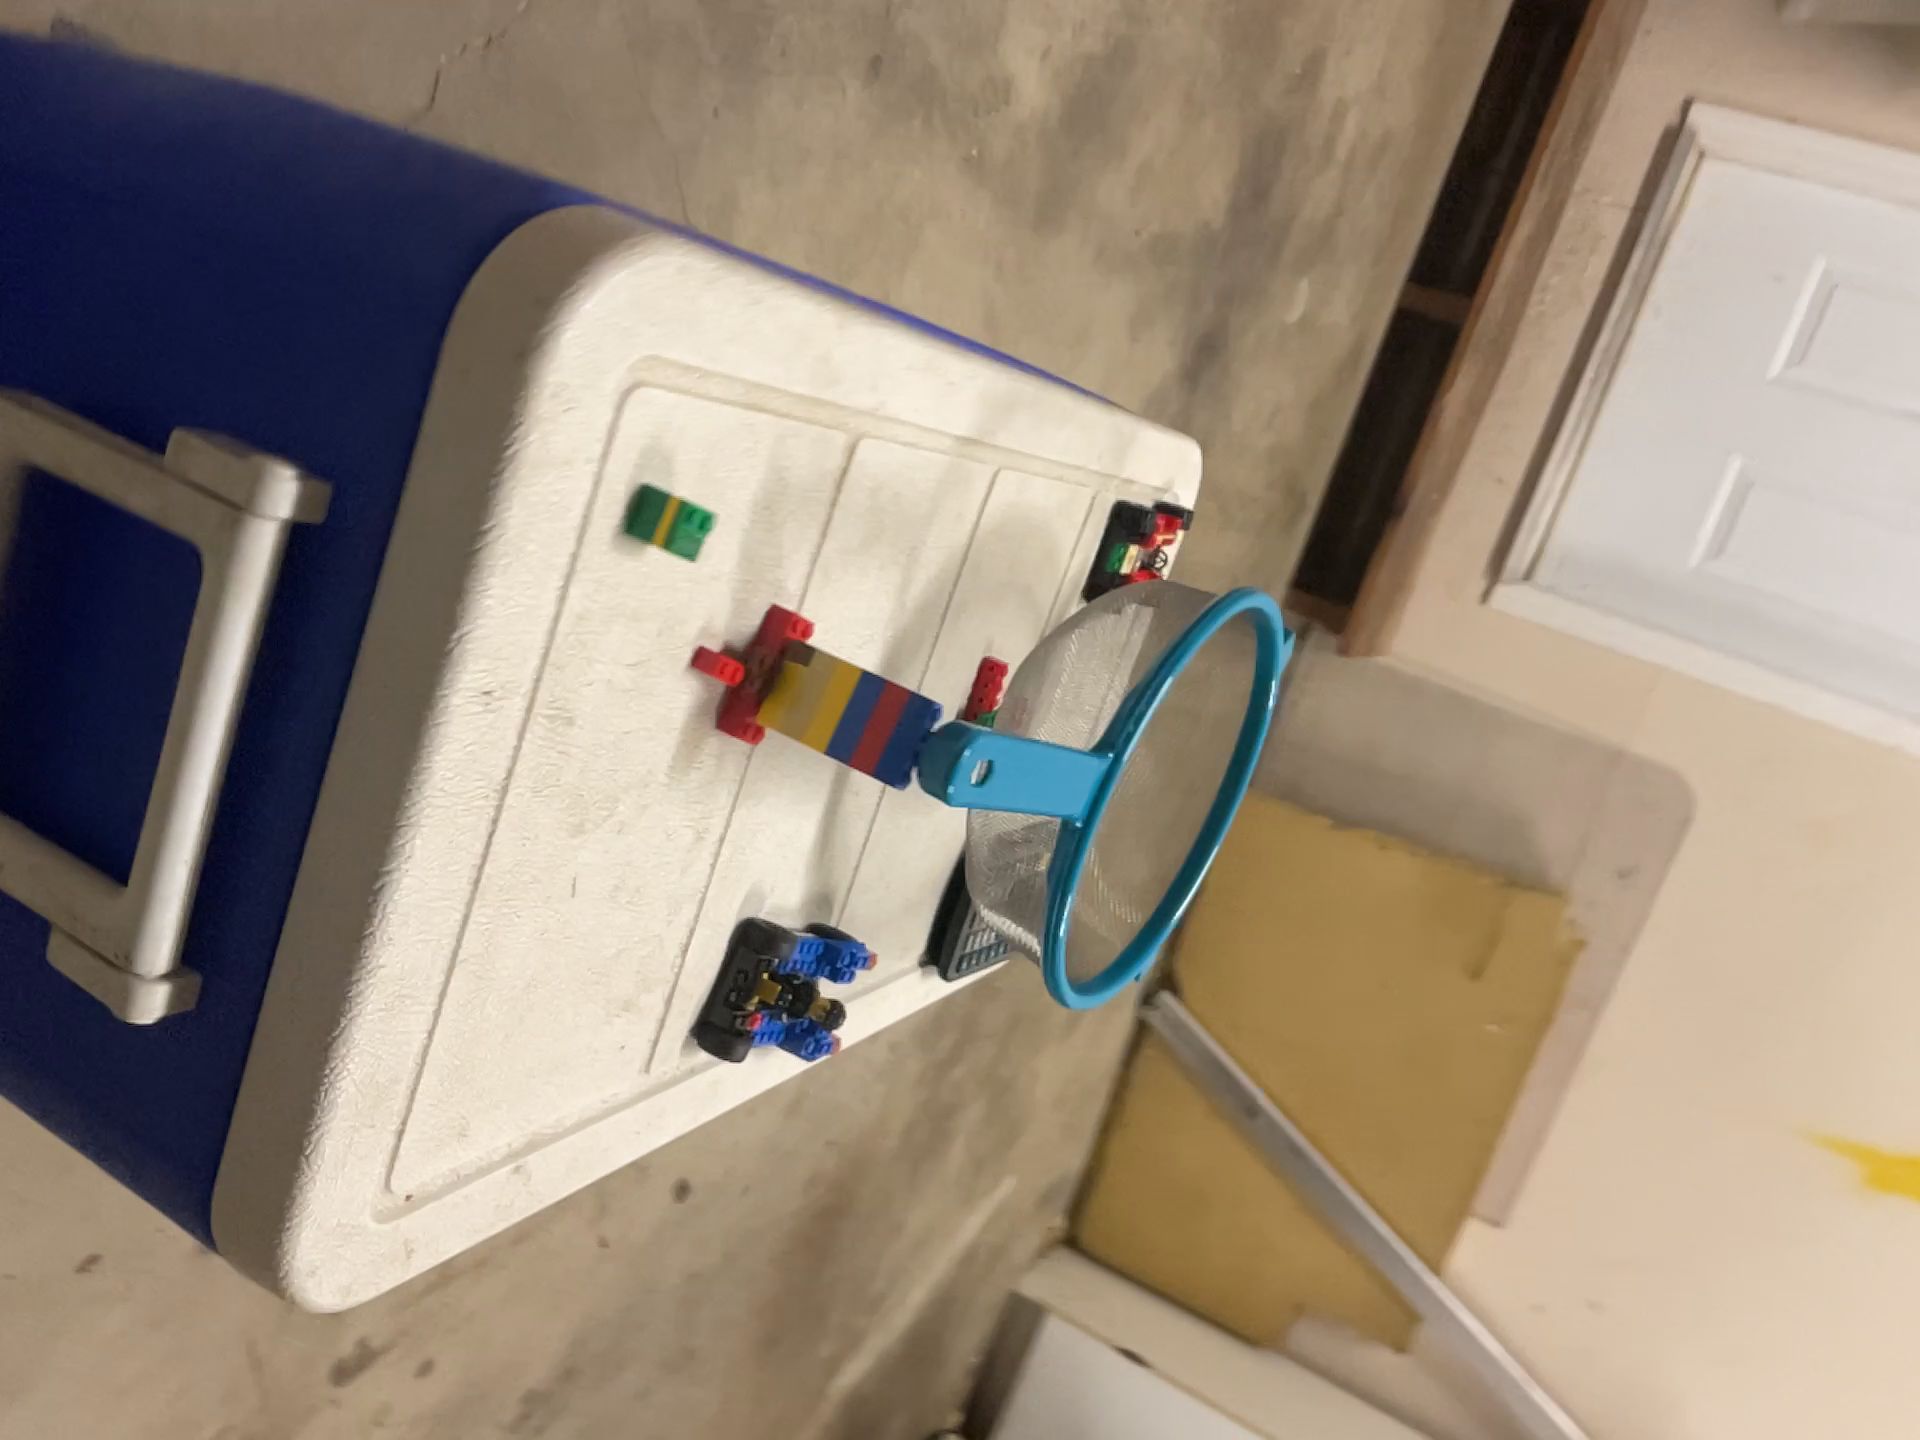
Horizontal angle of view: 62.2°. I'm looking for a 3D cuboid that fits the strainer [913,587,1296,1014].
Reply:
[{"bbox_3d":[0.036,0.016,0.689,0.340,0.095,0.211,13,101,-64],"label":"strainer"}]
